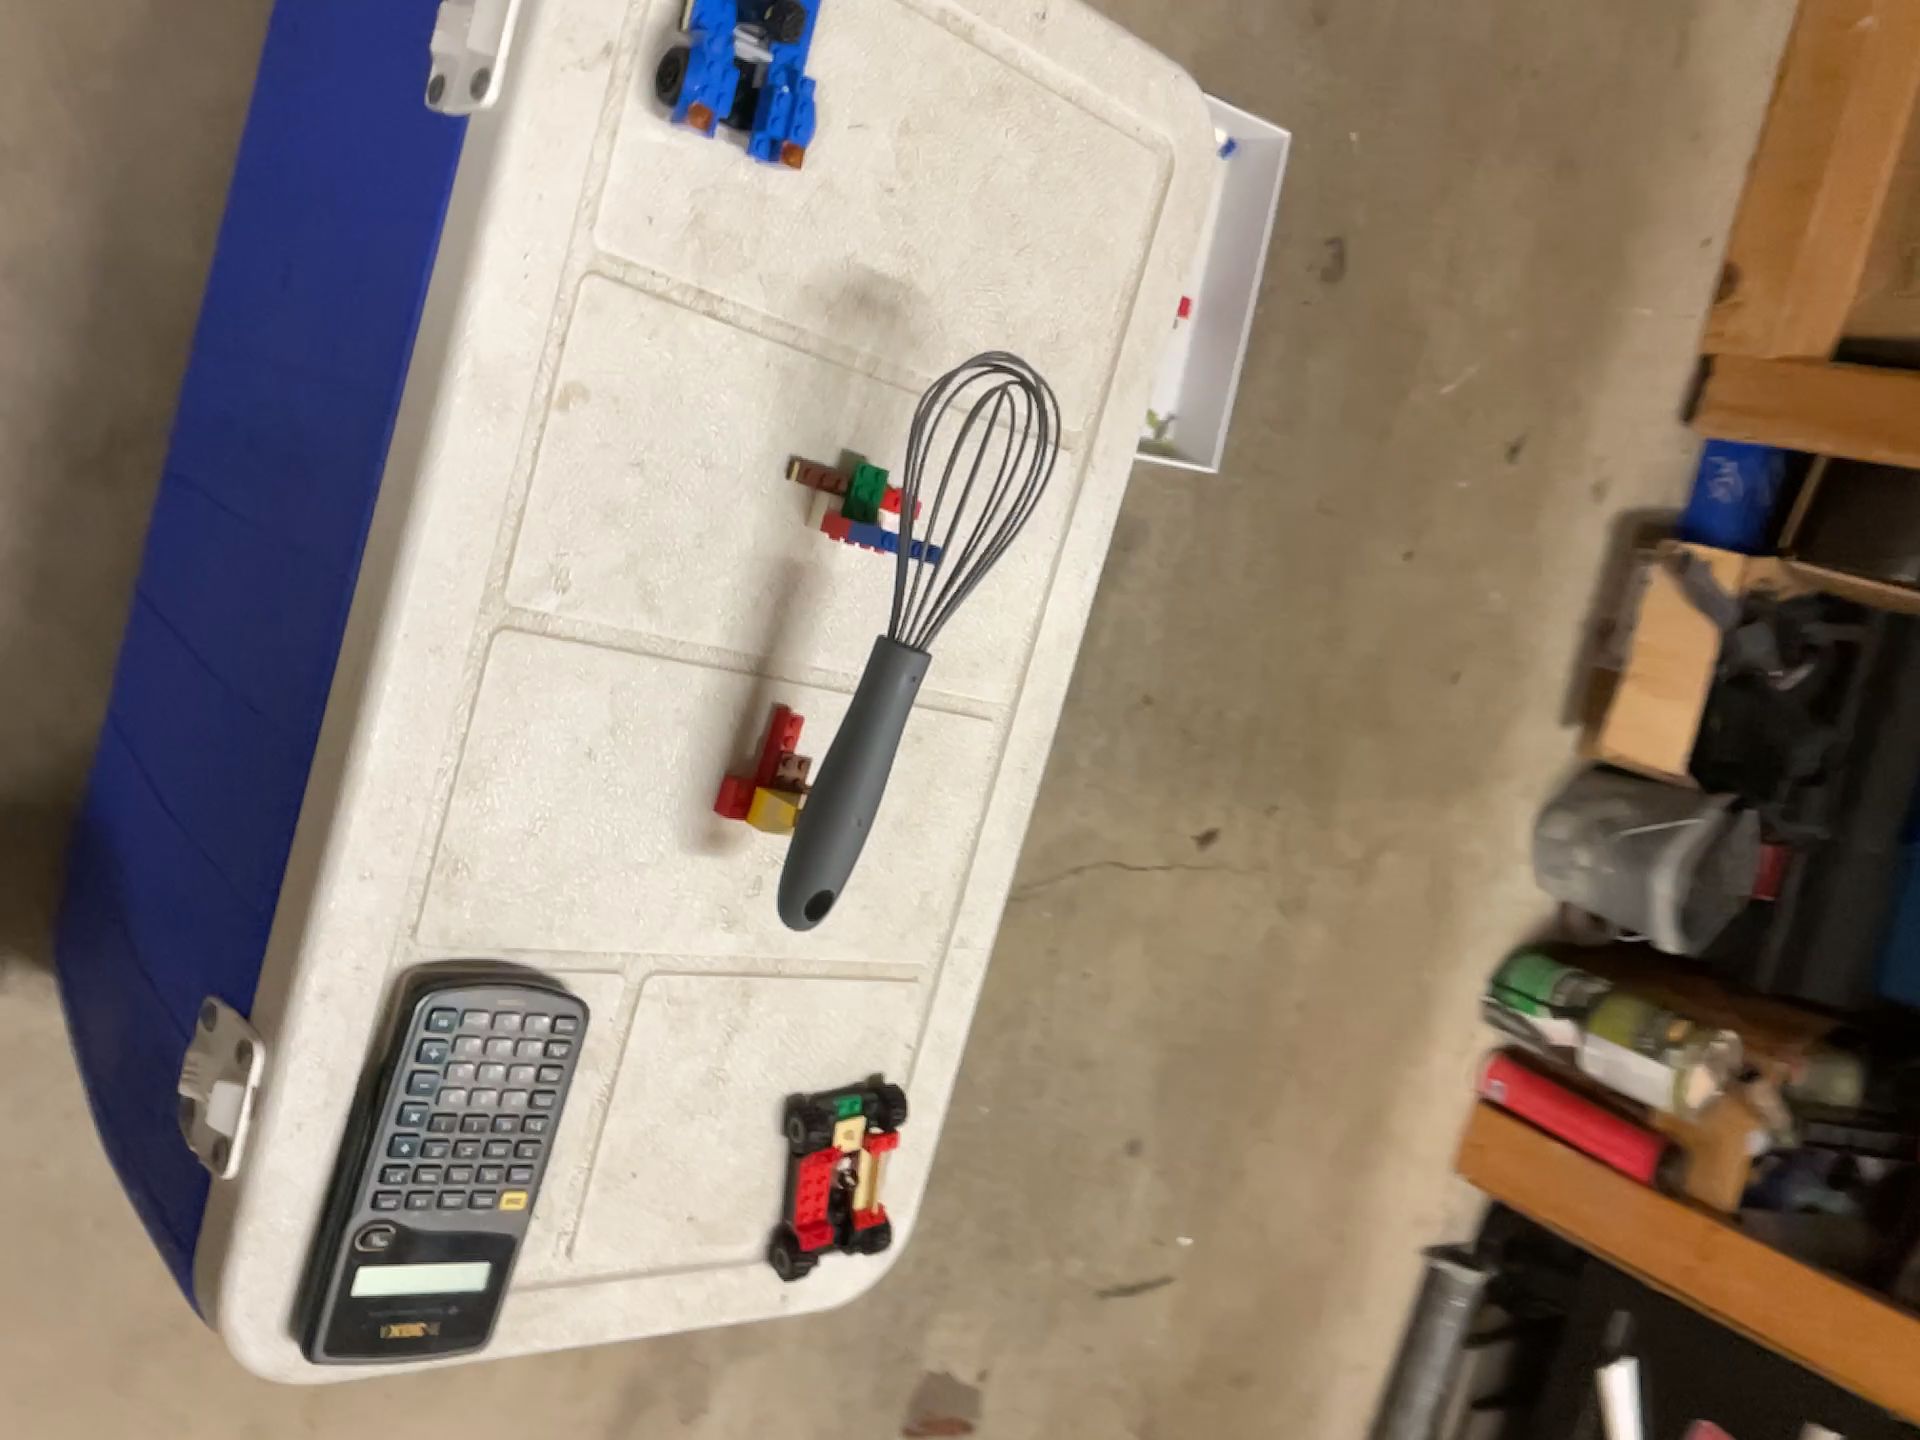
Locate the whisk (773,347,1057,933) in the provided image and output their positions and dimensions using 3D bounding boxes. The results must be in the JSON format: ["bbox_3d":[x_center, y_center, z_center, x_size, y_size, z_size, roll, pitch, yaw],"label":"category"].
[{"bbox_3d":[-0.024,-0.028,0.614,0.055,0.055,0.239,16,99,-41],"label":"whisk"}]
